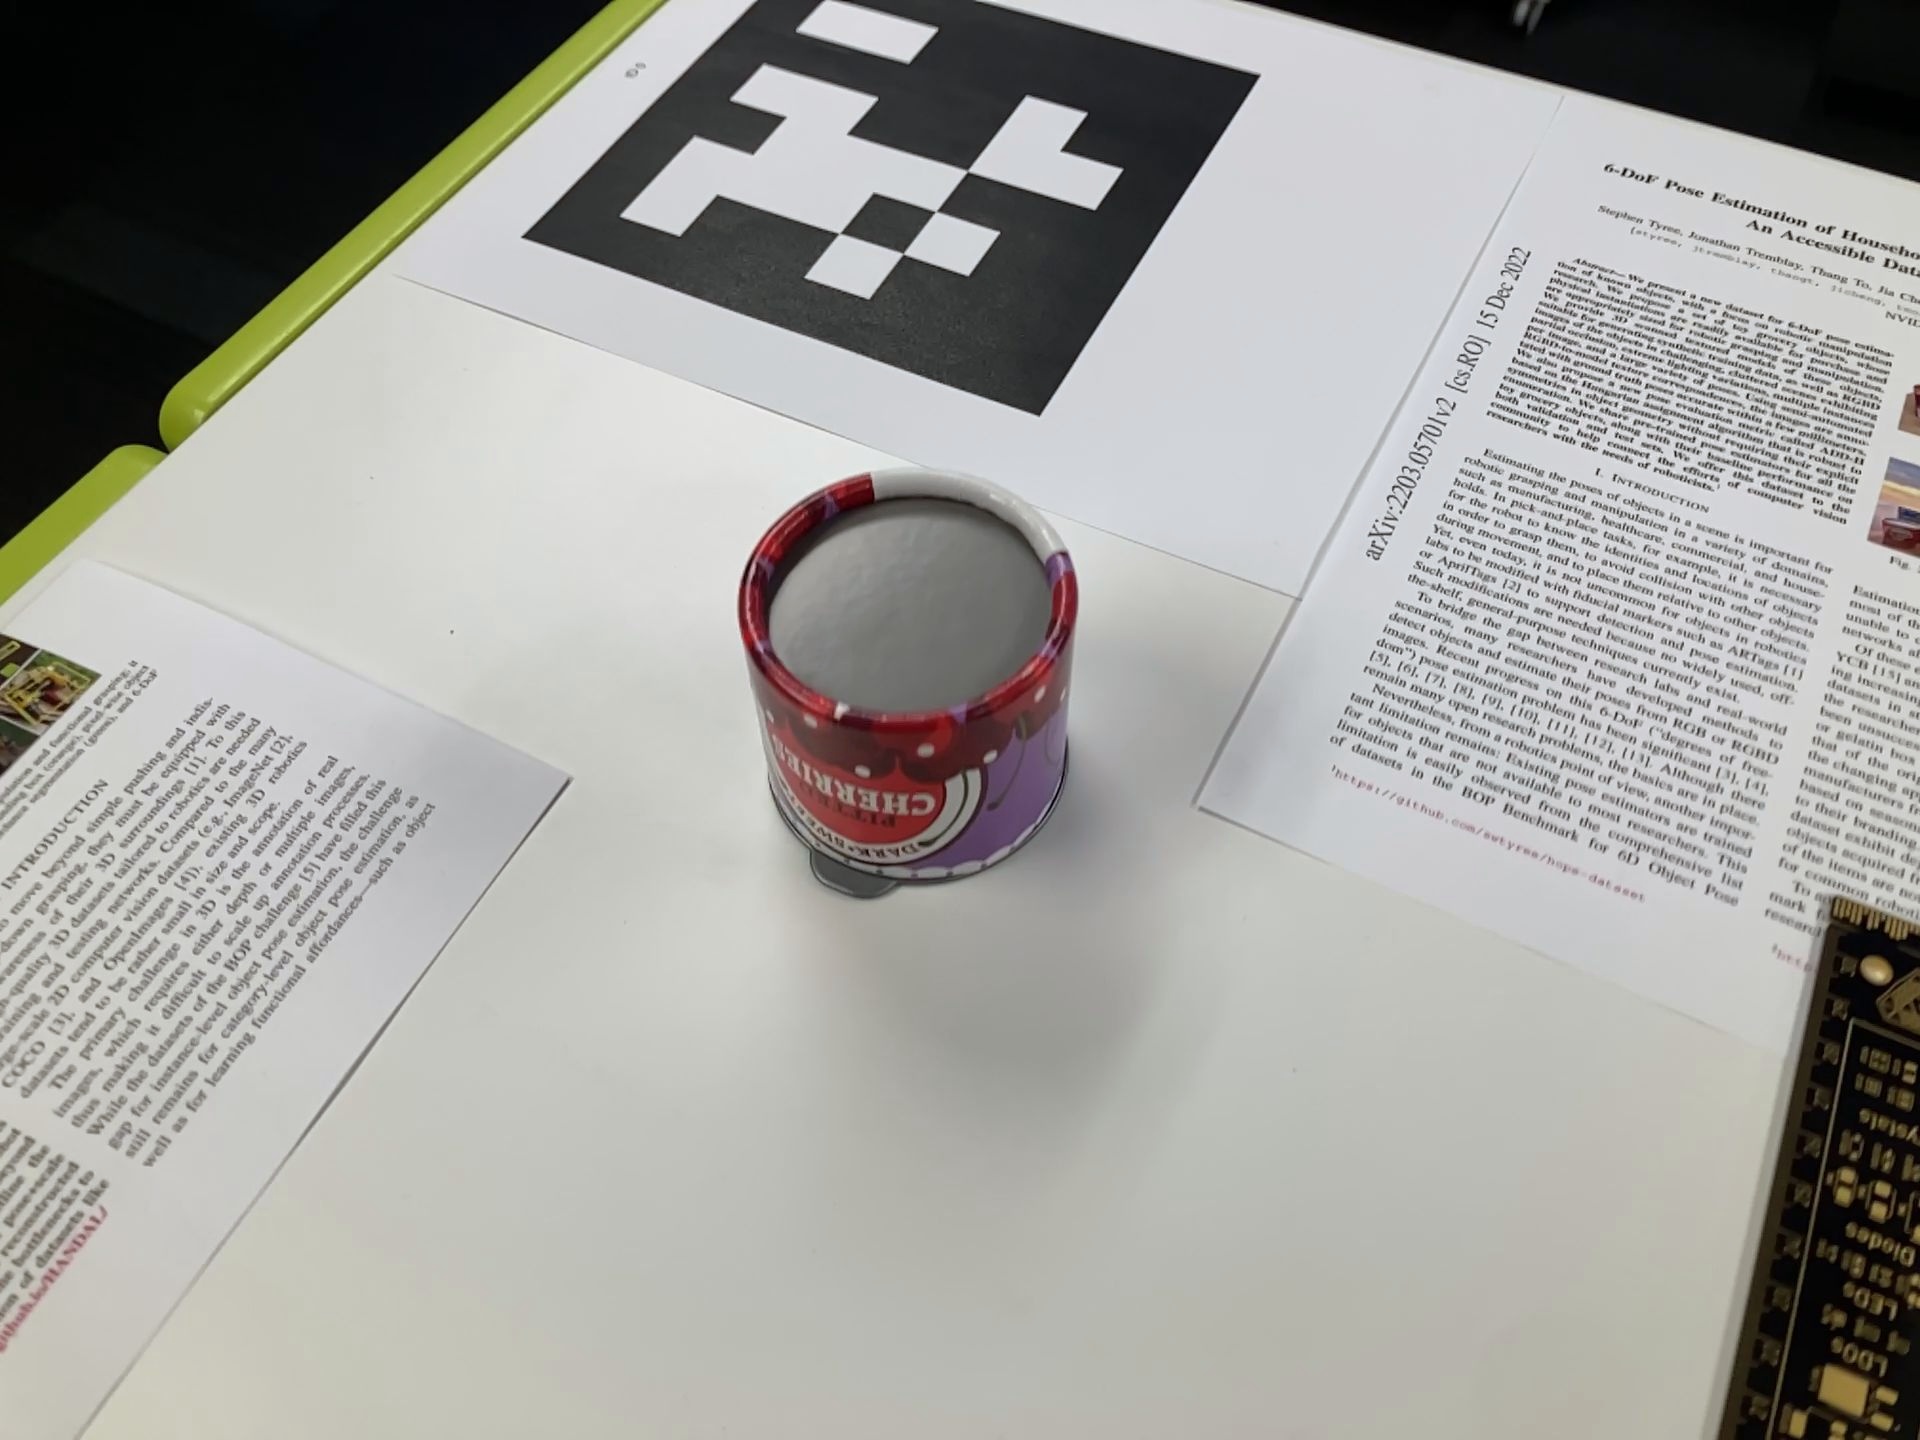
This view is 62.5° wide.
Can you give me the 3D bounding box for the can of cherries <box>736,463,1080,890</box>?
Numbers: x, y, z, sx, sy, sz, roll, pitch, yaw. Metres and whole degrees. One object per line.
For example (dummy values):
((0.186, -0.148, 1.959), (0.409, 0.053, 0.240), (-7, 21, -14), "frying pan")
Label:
((-0.010, -0.007, 0.320), (0.071, 0.058, 0.071), (0, 56, 0), "can of cherries")
